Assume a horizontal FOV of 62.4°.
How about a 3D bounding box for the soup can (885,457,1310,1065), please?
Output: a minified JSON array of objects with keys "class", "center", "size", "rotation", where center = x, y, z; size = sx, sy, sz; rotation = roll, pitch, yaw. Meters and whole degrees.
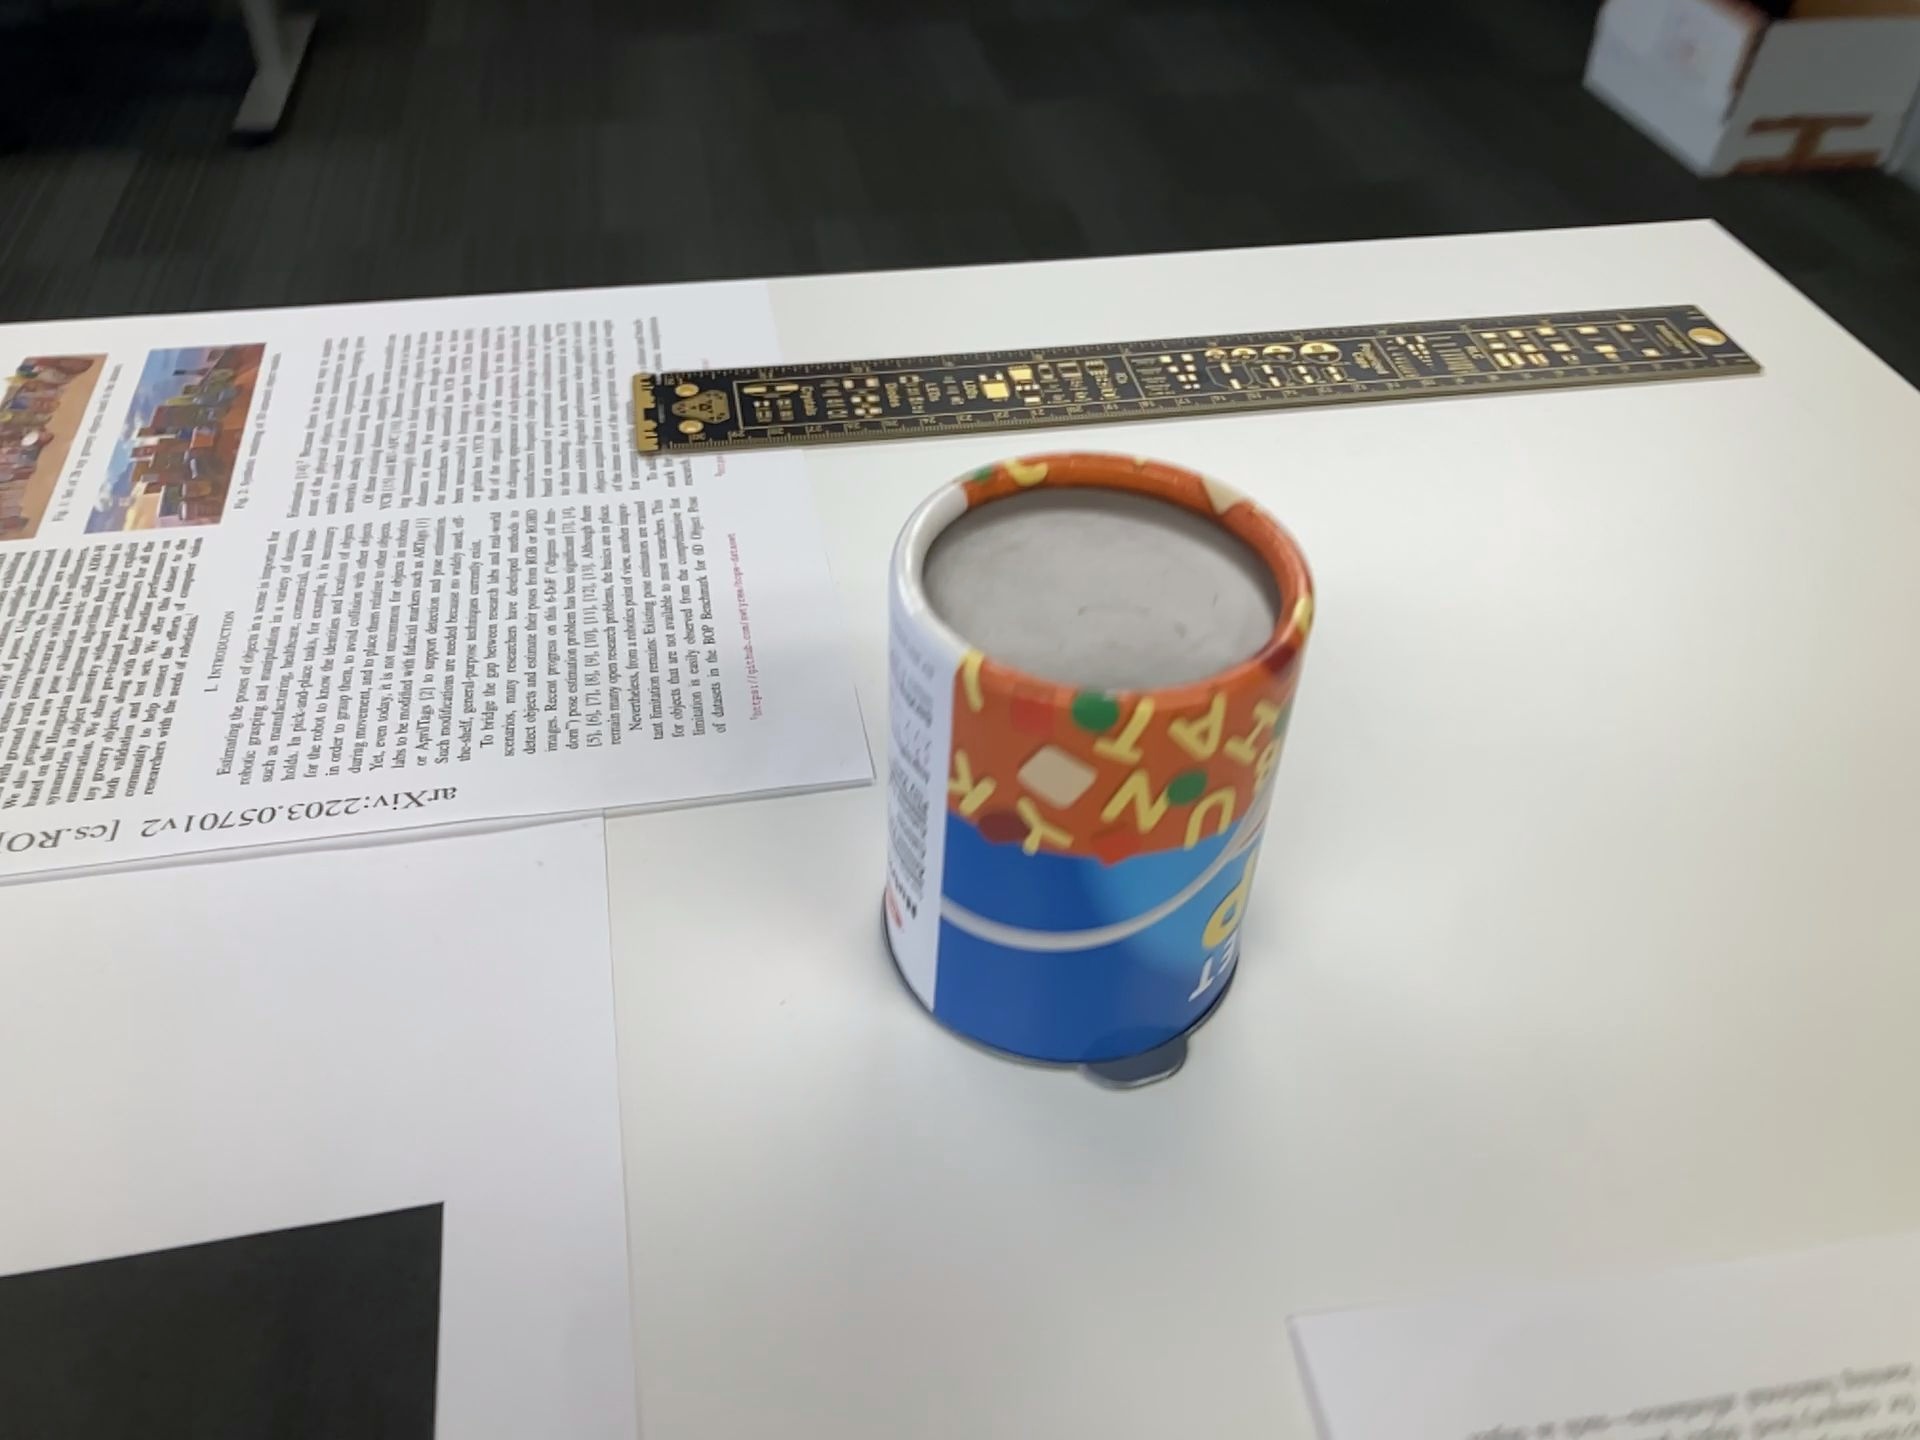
[{"class":"soup can","center":[0.023,0.007,0.272],"size":[0.071,0.084,0.071],"rotation":[2,43,-1]}]
